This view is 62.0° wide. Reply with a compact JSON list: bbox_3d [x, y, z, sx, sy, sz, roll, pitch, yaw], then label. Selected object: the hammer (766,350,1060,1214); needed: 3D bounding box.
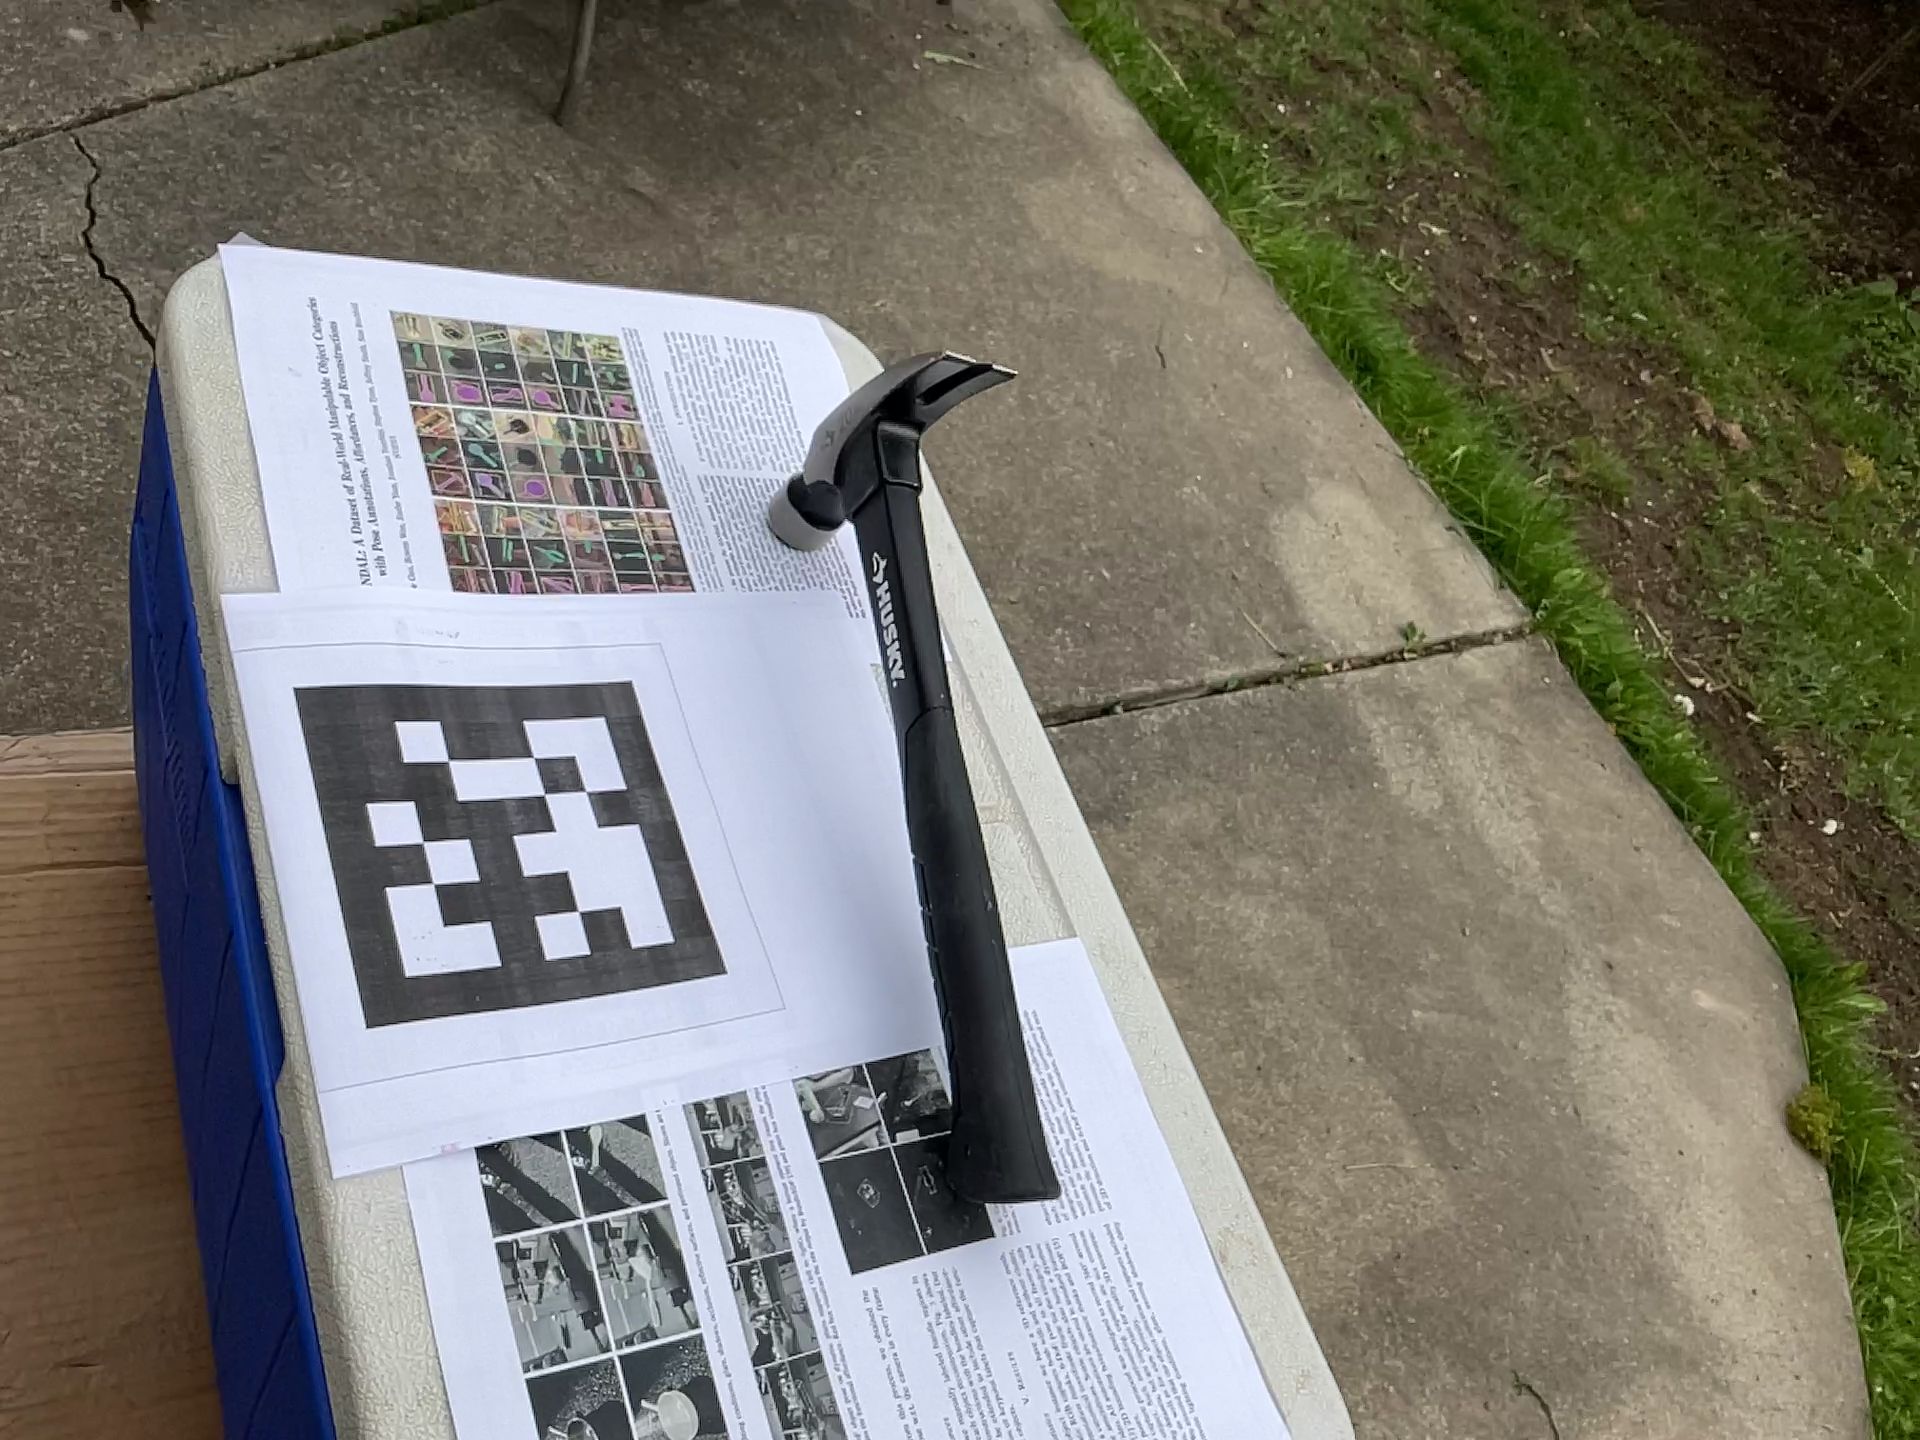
[{"bbox_3d":[-0.008,0.016,0.604,0.035,0.146,0.335,7,61,-35],"label":"hammer"}]
